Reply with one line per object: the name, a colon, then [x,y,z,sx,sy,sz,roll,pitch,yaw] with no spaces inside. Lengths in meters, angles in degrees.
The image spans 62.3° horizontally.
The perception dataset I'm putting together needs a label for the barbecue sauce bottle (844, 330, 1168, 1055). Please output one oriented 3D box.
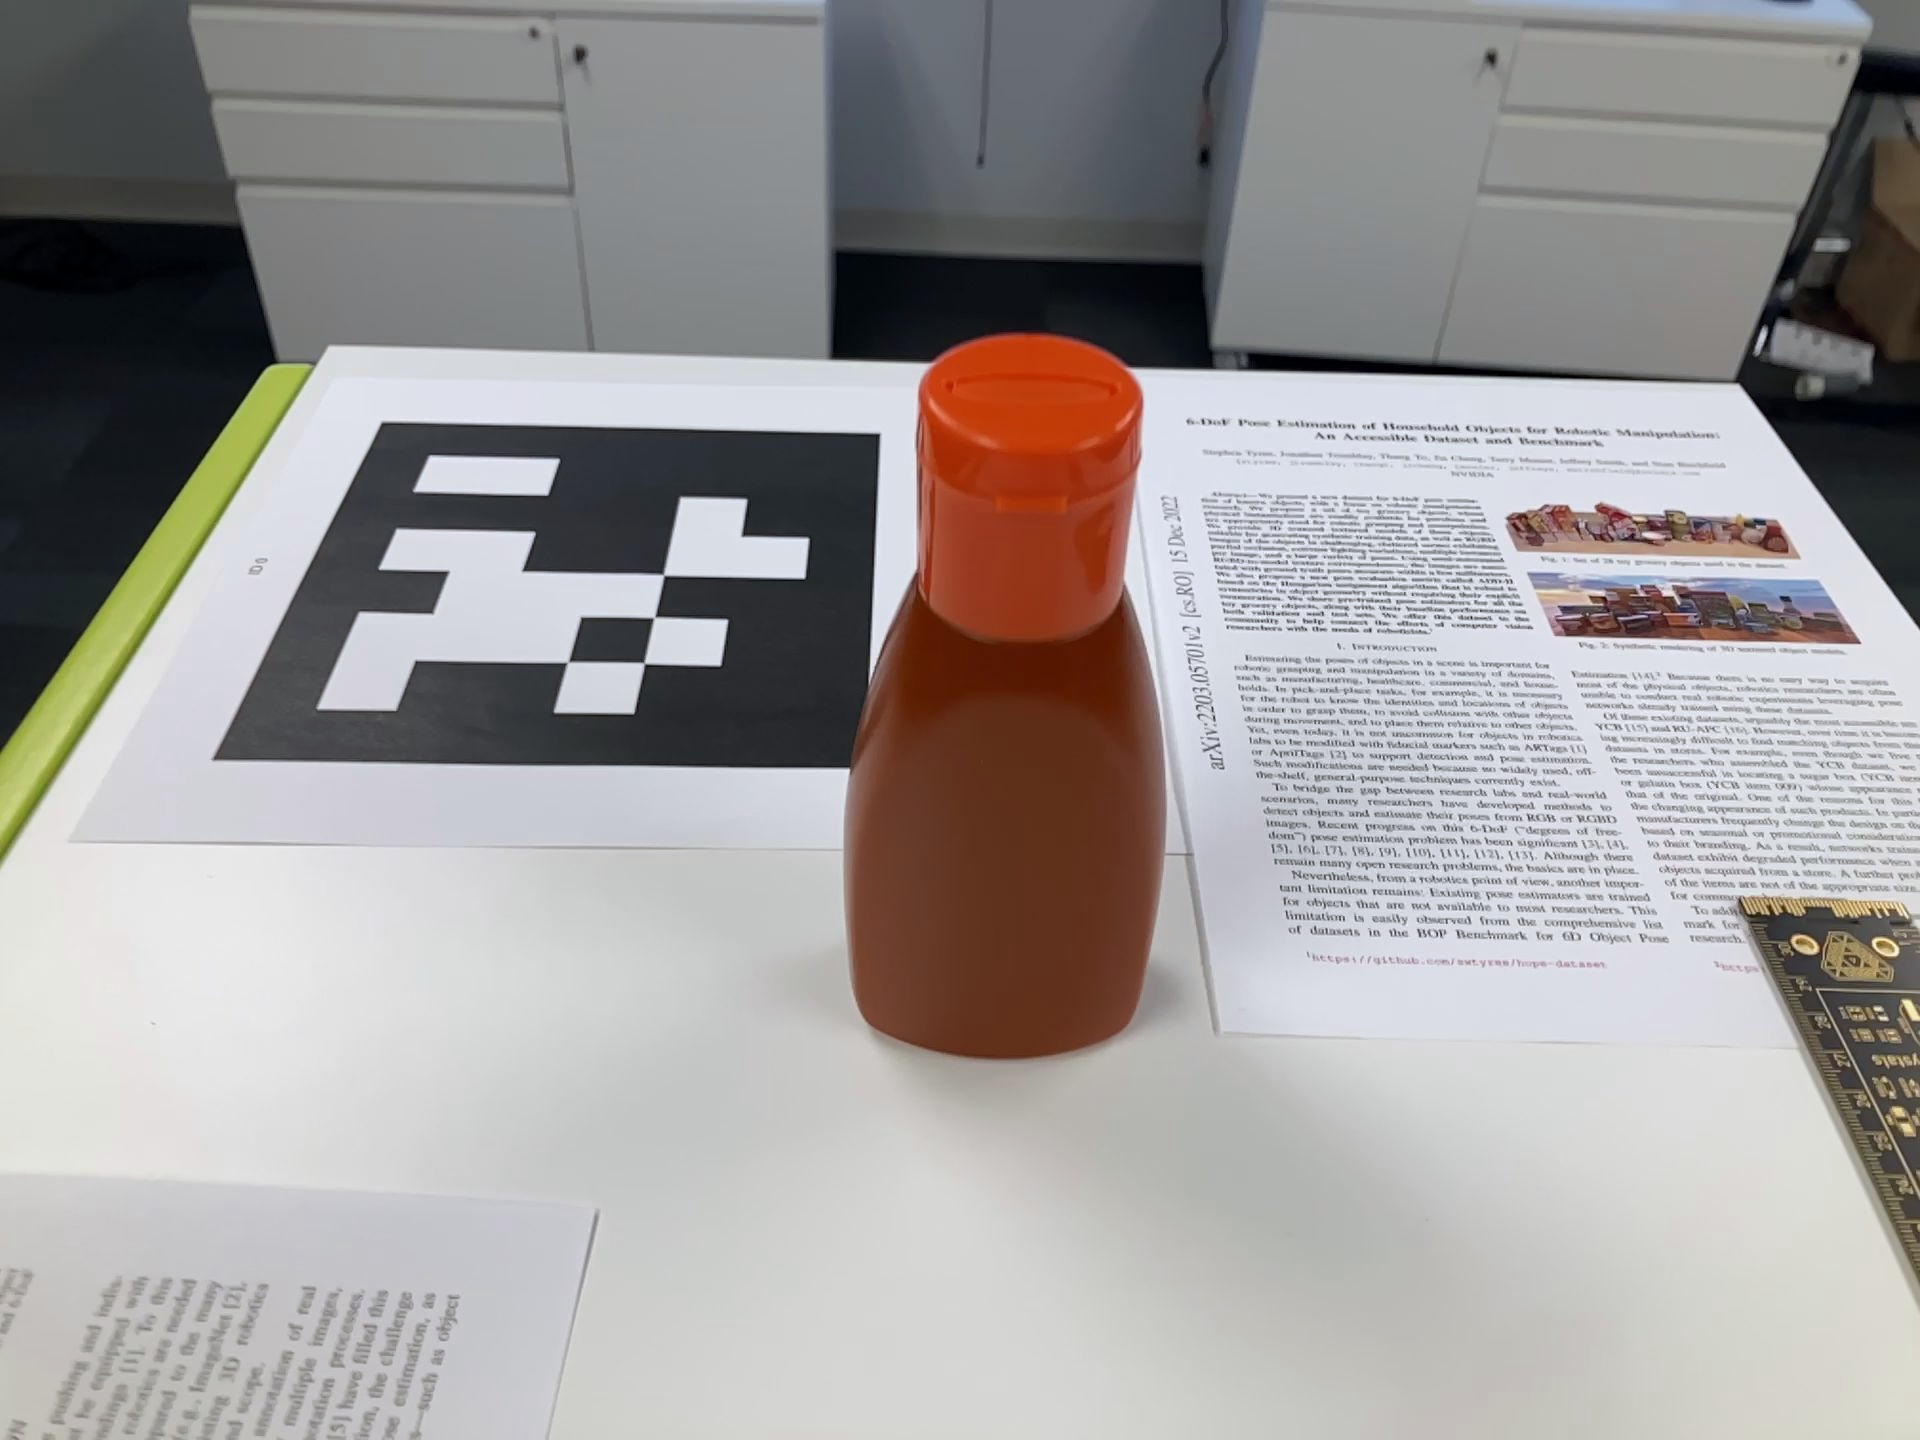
barbecue sauce bottle: [0.010,0.002,0.300,0.065,0.148,0.043,2,41,0]
